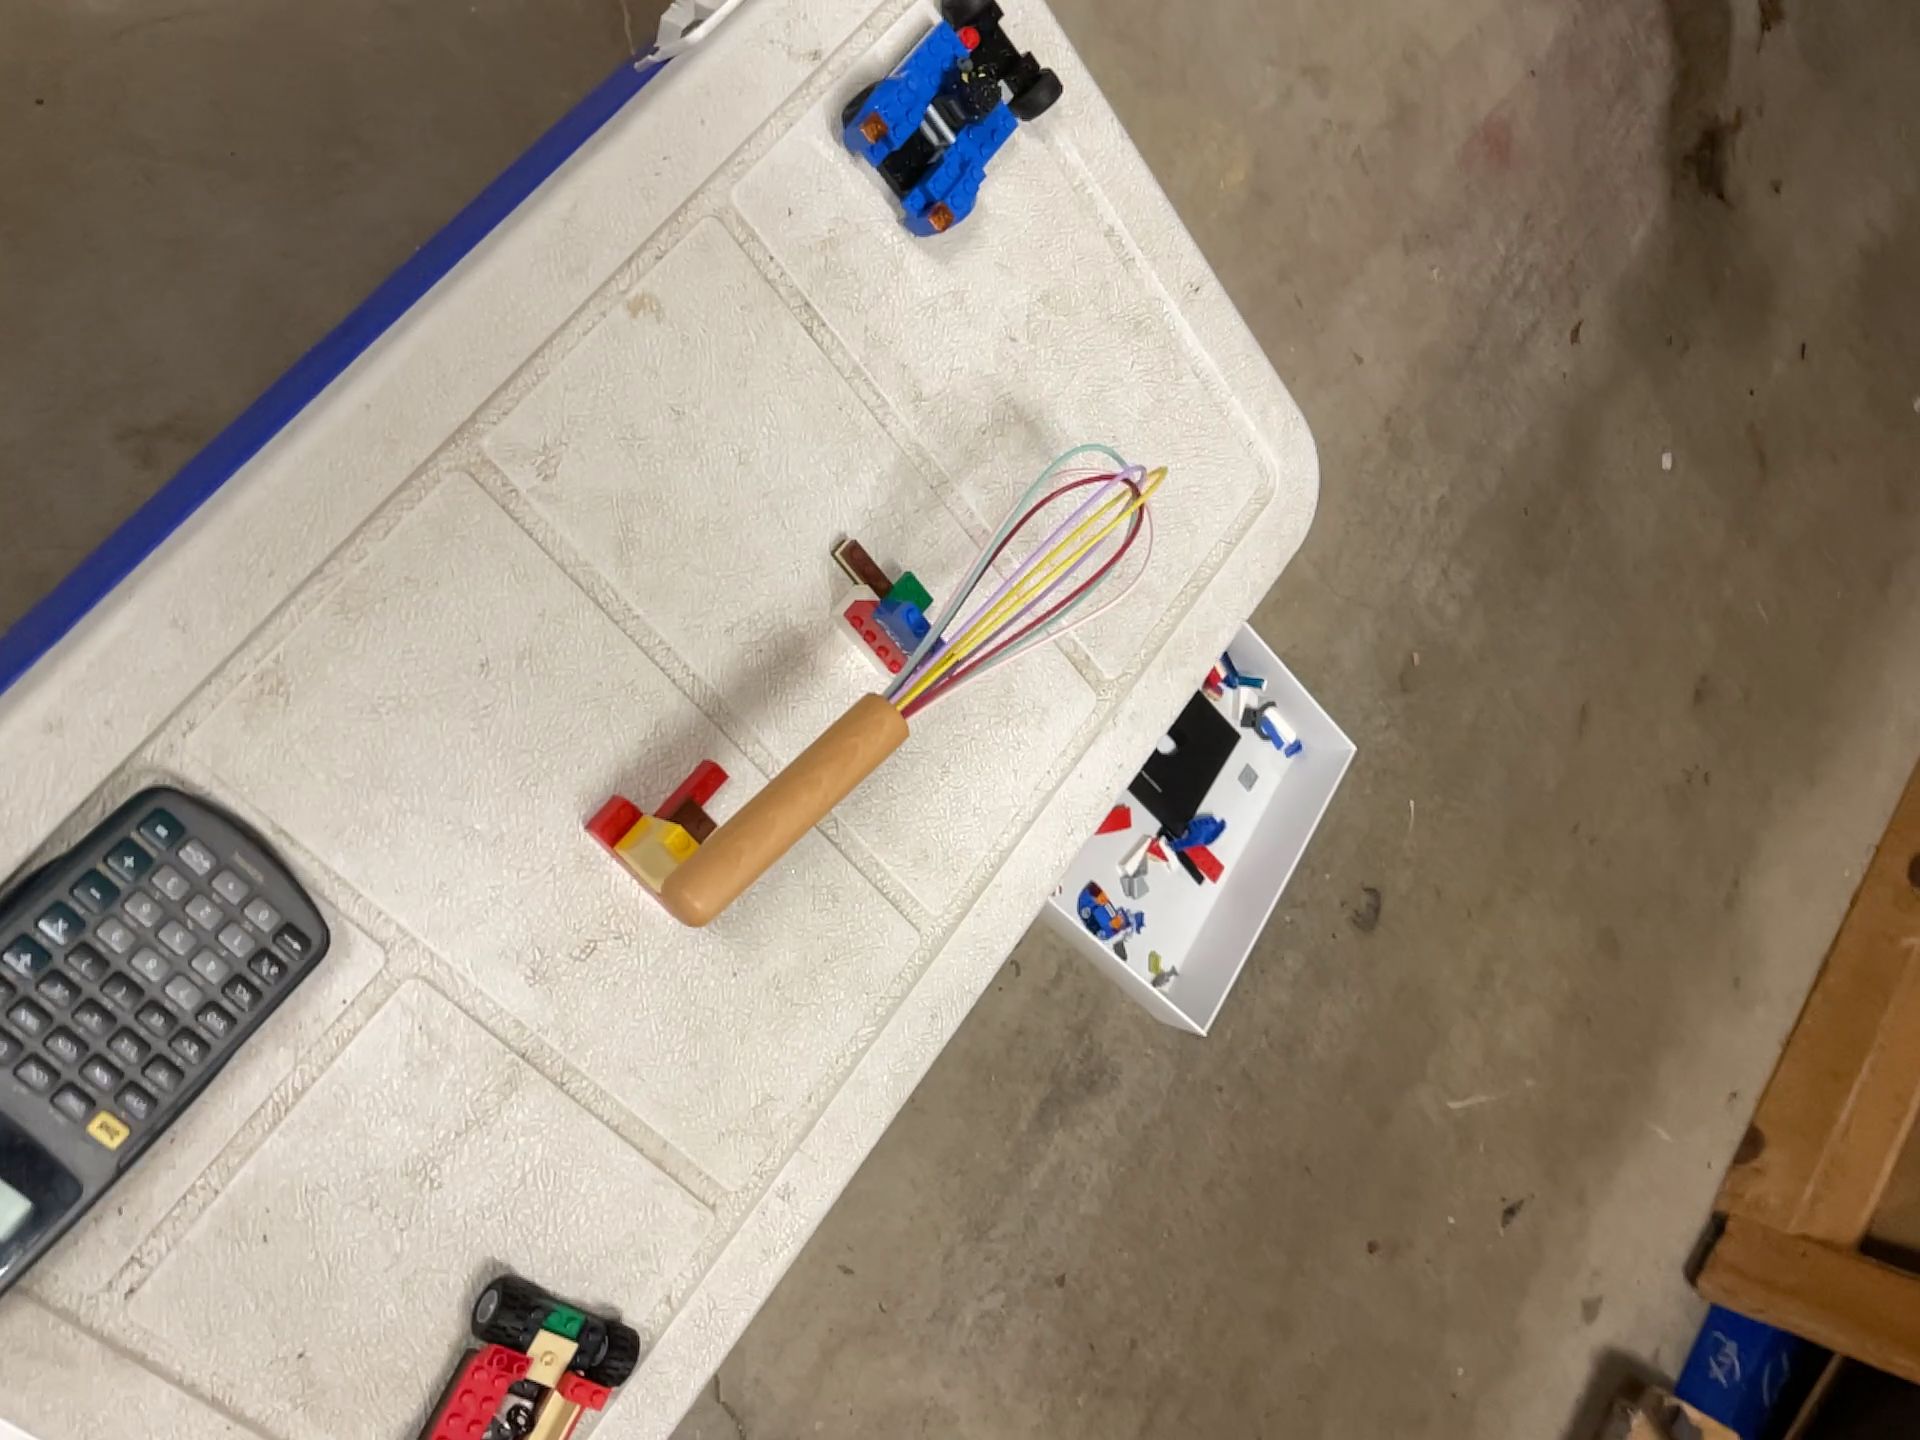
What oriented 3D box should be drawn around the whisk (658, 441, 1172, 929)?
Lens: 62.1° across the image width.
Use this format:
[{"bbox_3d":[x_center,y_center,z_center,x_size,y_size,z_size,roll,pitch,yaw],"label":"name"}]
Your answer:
[{"bbox_3d":[-0.009,-0.018,0.555,0.245,0.047,0.051,-43,130,-21],"label":"whisk"}]
